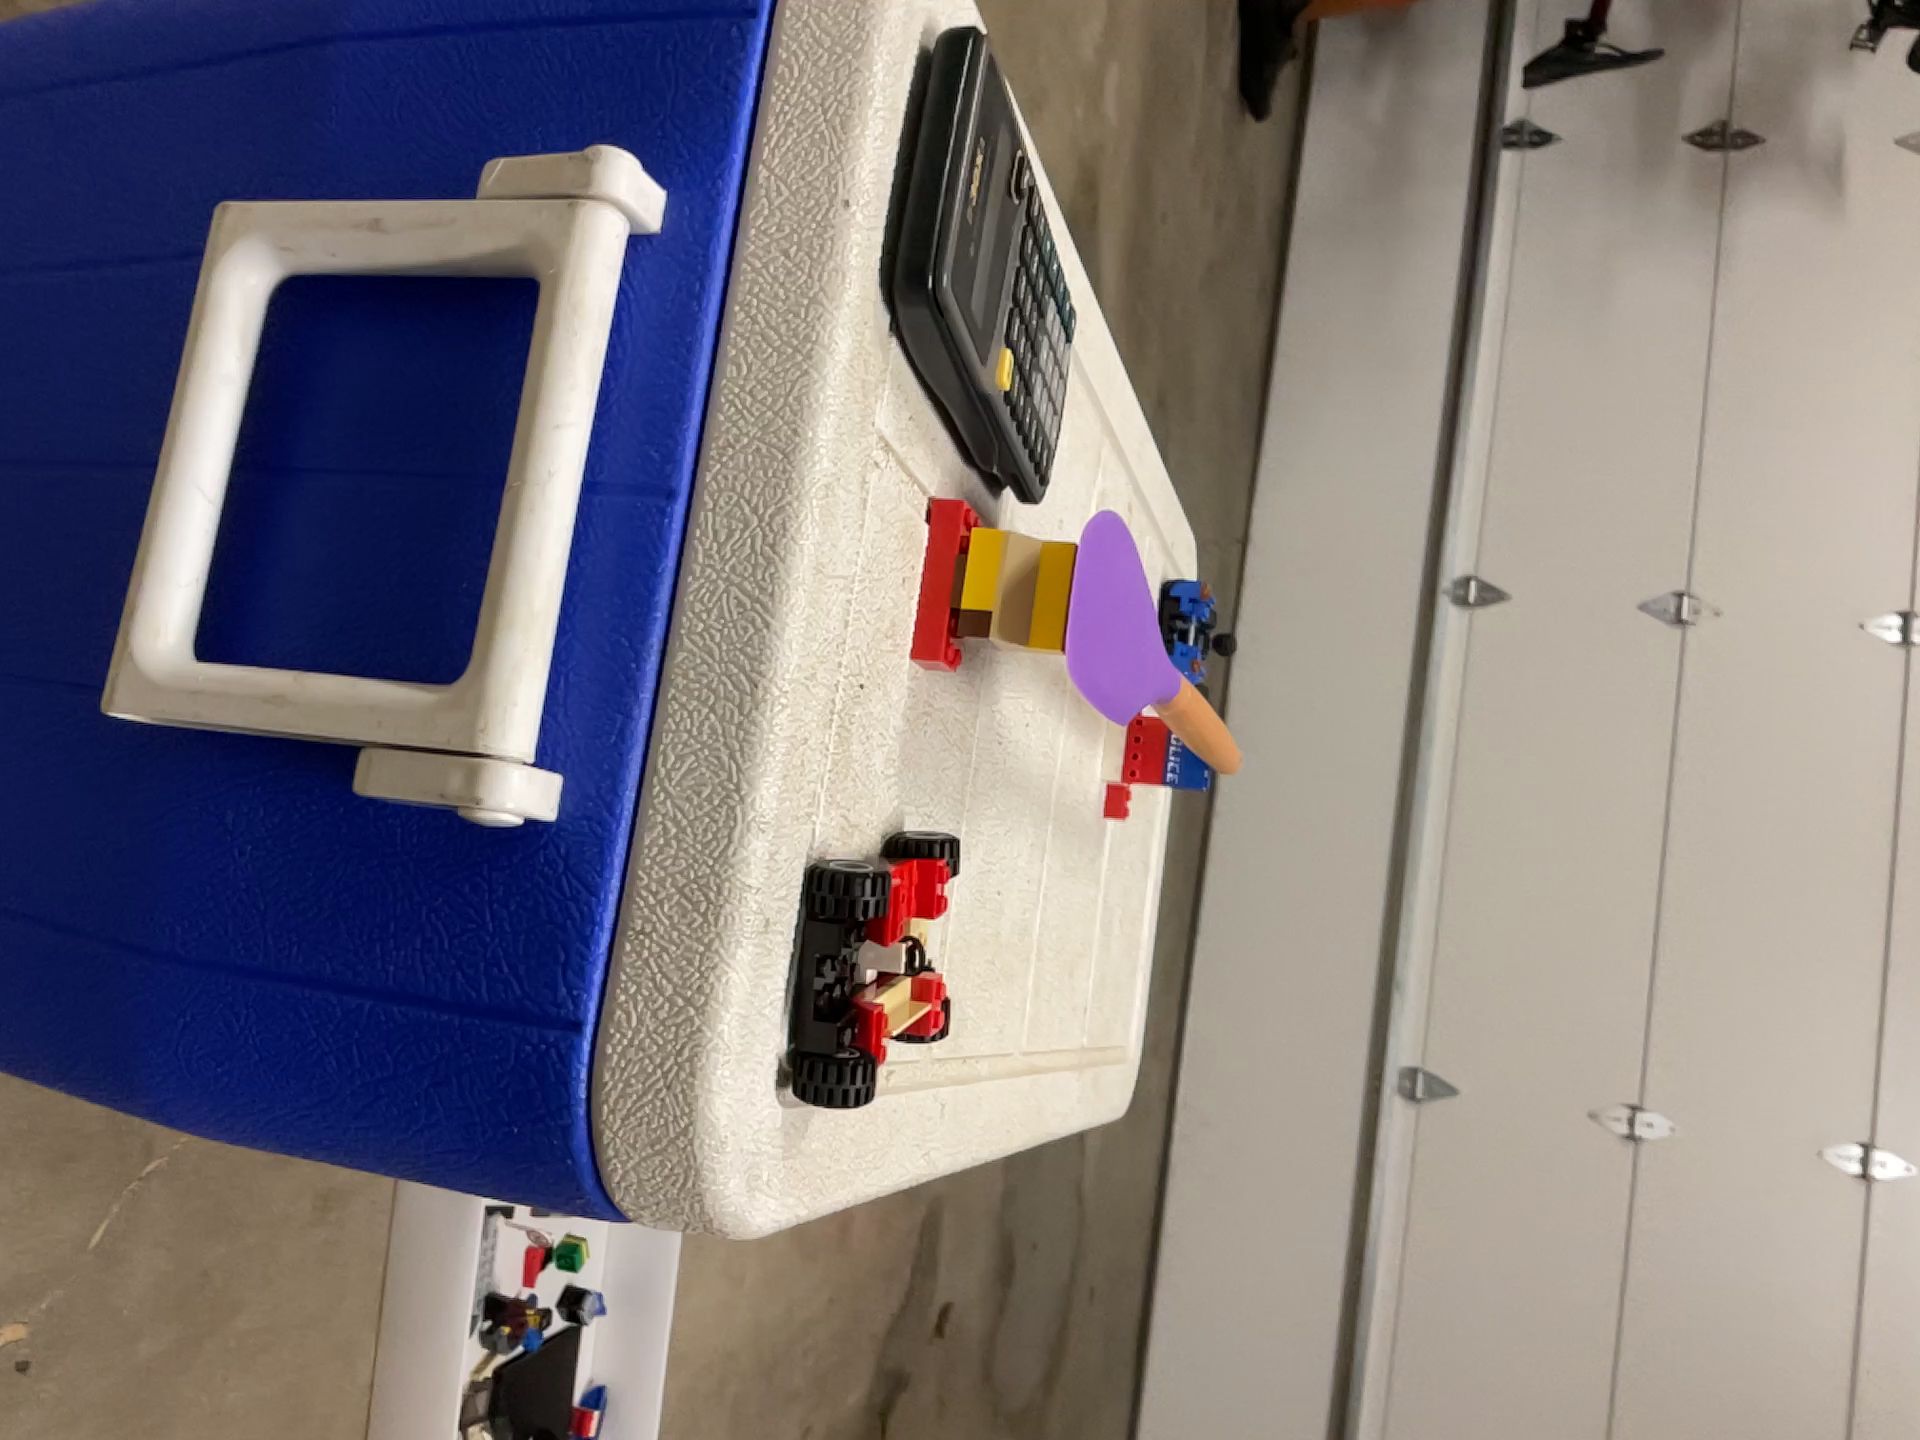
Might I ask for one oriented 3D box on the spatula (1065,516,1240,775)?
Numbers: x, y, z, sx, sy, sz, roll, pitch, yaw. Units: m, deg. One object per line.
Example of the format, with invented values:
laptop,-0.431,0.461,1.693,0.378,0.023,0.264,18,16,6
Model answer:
spatula,0.078,-0.010,0.586,0.316,0.018,0.060,33,65,-70
